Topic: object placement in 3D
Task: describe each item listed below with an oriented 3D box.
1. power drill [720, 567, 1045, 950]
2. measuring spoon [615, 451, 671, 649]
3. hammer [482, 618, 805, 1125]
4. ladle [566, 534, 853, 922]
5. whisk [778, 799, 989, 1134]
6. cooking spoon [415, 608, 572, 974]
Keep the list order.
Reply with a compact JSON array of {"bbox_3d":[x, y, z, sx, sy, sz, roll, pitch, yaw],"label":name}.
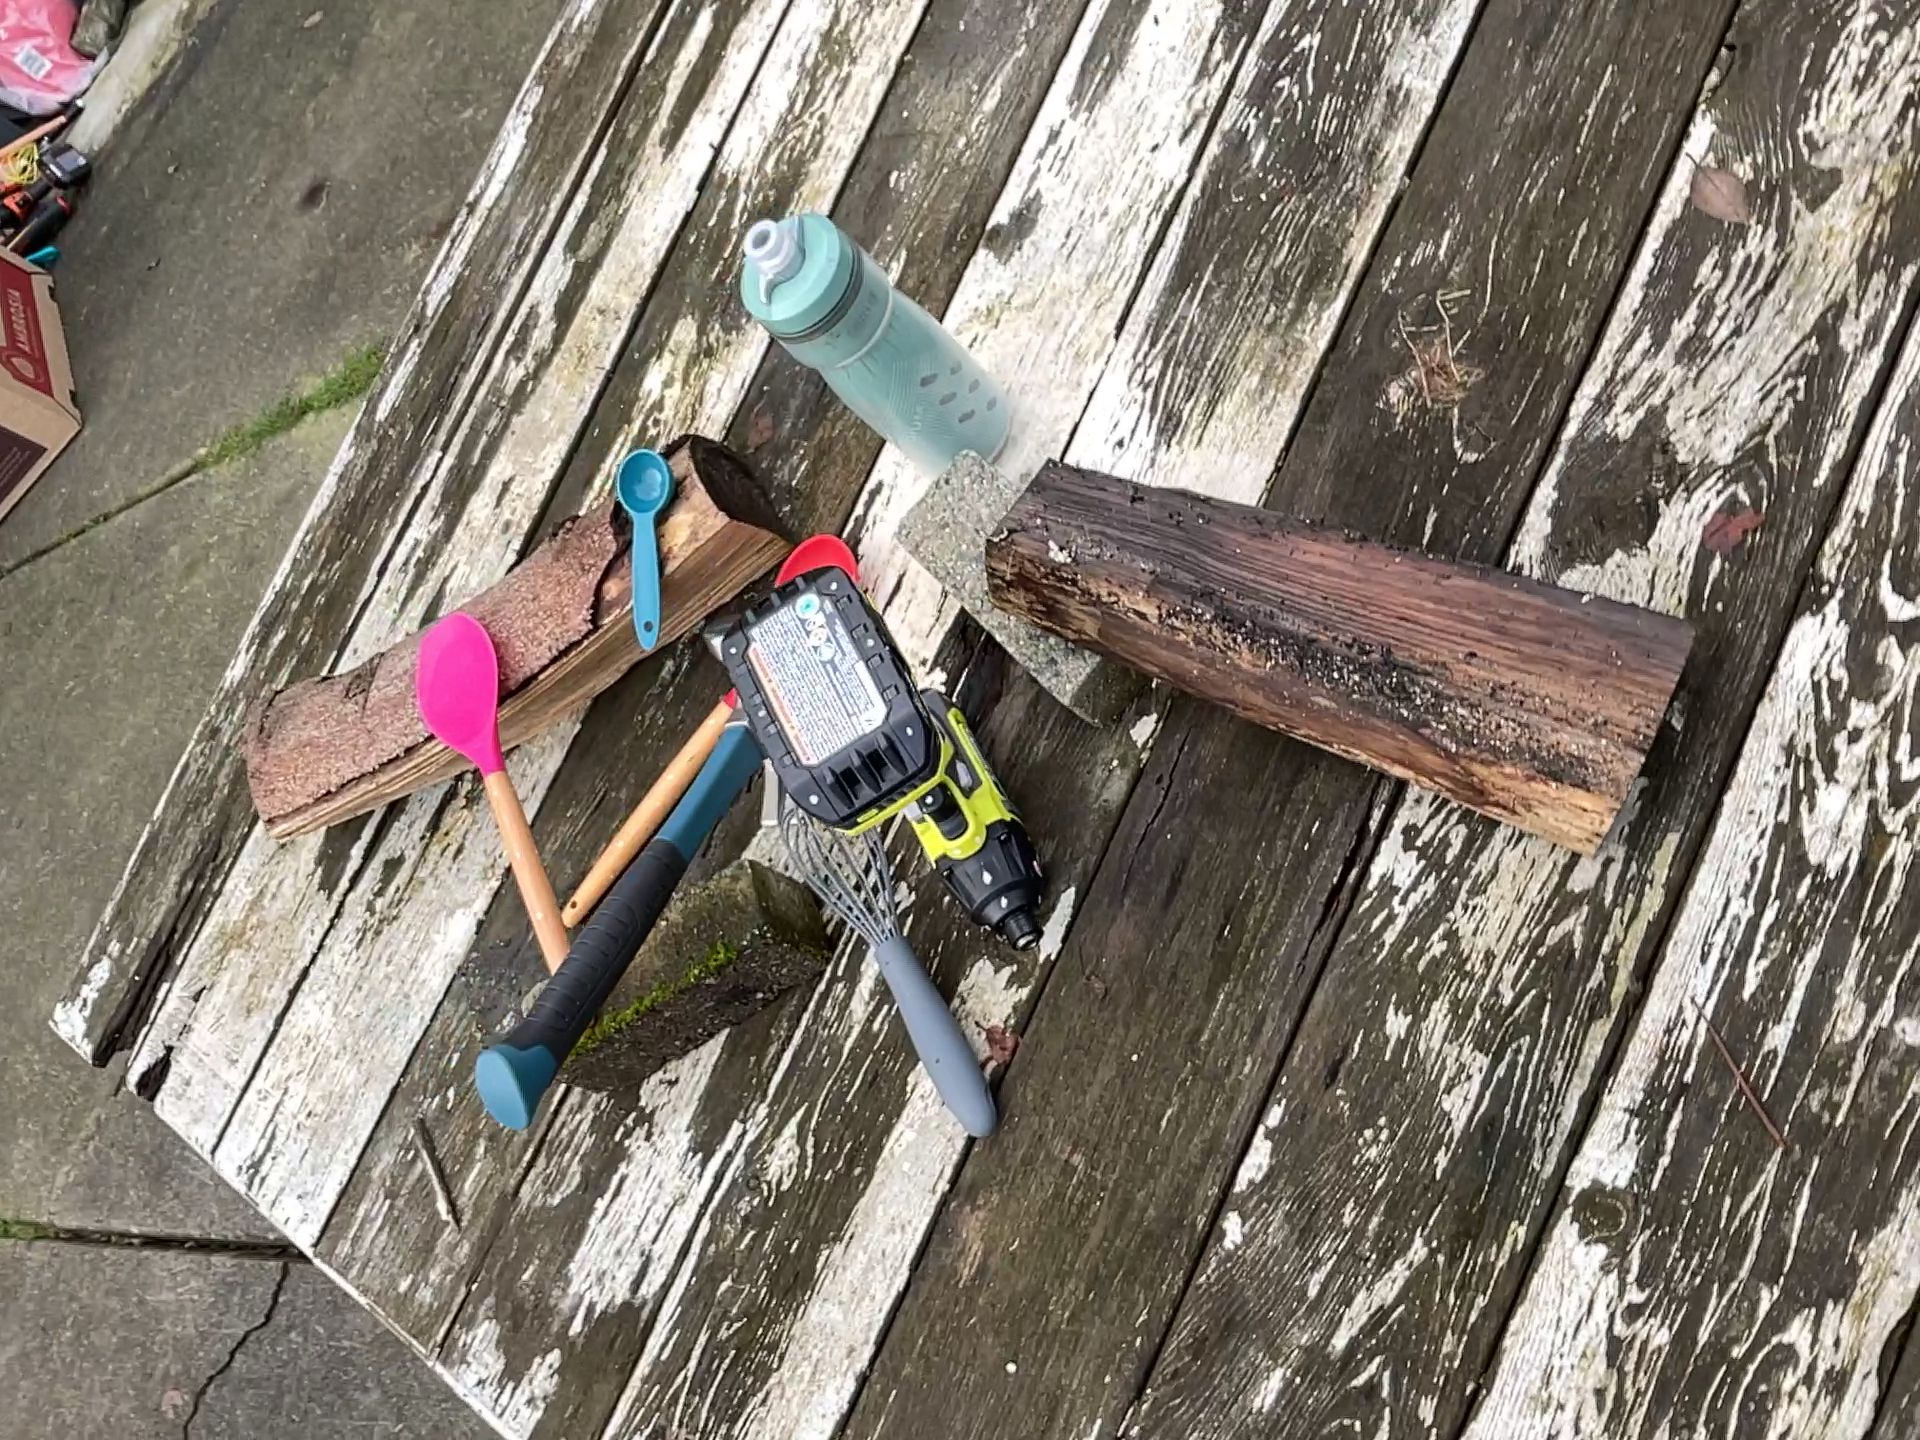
[{"bbox_3d":[-0.027,0.028,0.857,0.080,0.222,0.171,-33,59,7],"label":"power drill"},{"bbox_3d":[-0.202,-0.111,1.042,0.042,0.021,0.128,-1,93,30],"label":"measuring spoon"},{"bbox_3d":[-0.175,0.087,0.921,0.033,0.128,0.331,-7,36,31],"label":"hammer"},{"bbox_3d":[-0.169,0.010,1.069,0.069,0.031,0.315,41,97,33],"label":"ladle"},{"bbox_3d":[-0.044,0.135,0.926,0.055,0.055,0.239,-43,58,19],"label":"whisk"},{"bbox_3d":[-0.292,0.055,1.026,0.069,0.017,0.319,-36,61,13],"label":"cooking spoon"}]
